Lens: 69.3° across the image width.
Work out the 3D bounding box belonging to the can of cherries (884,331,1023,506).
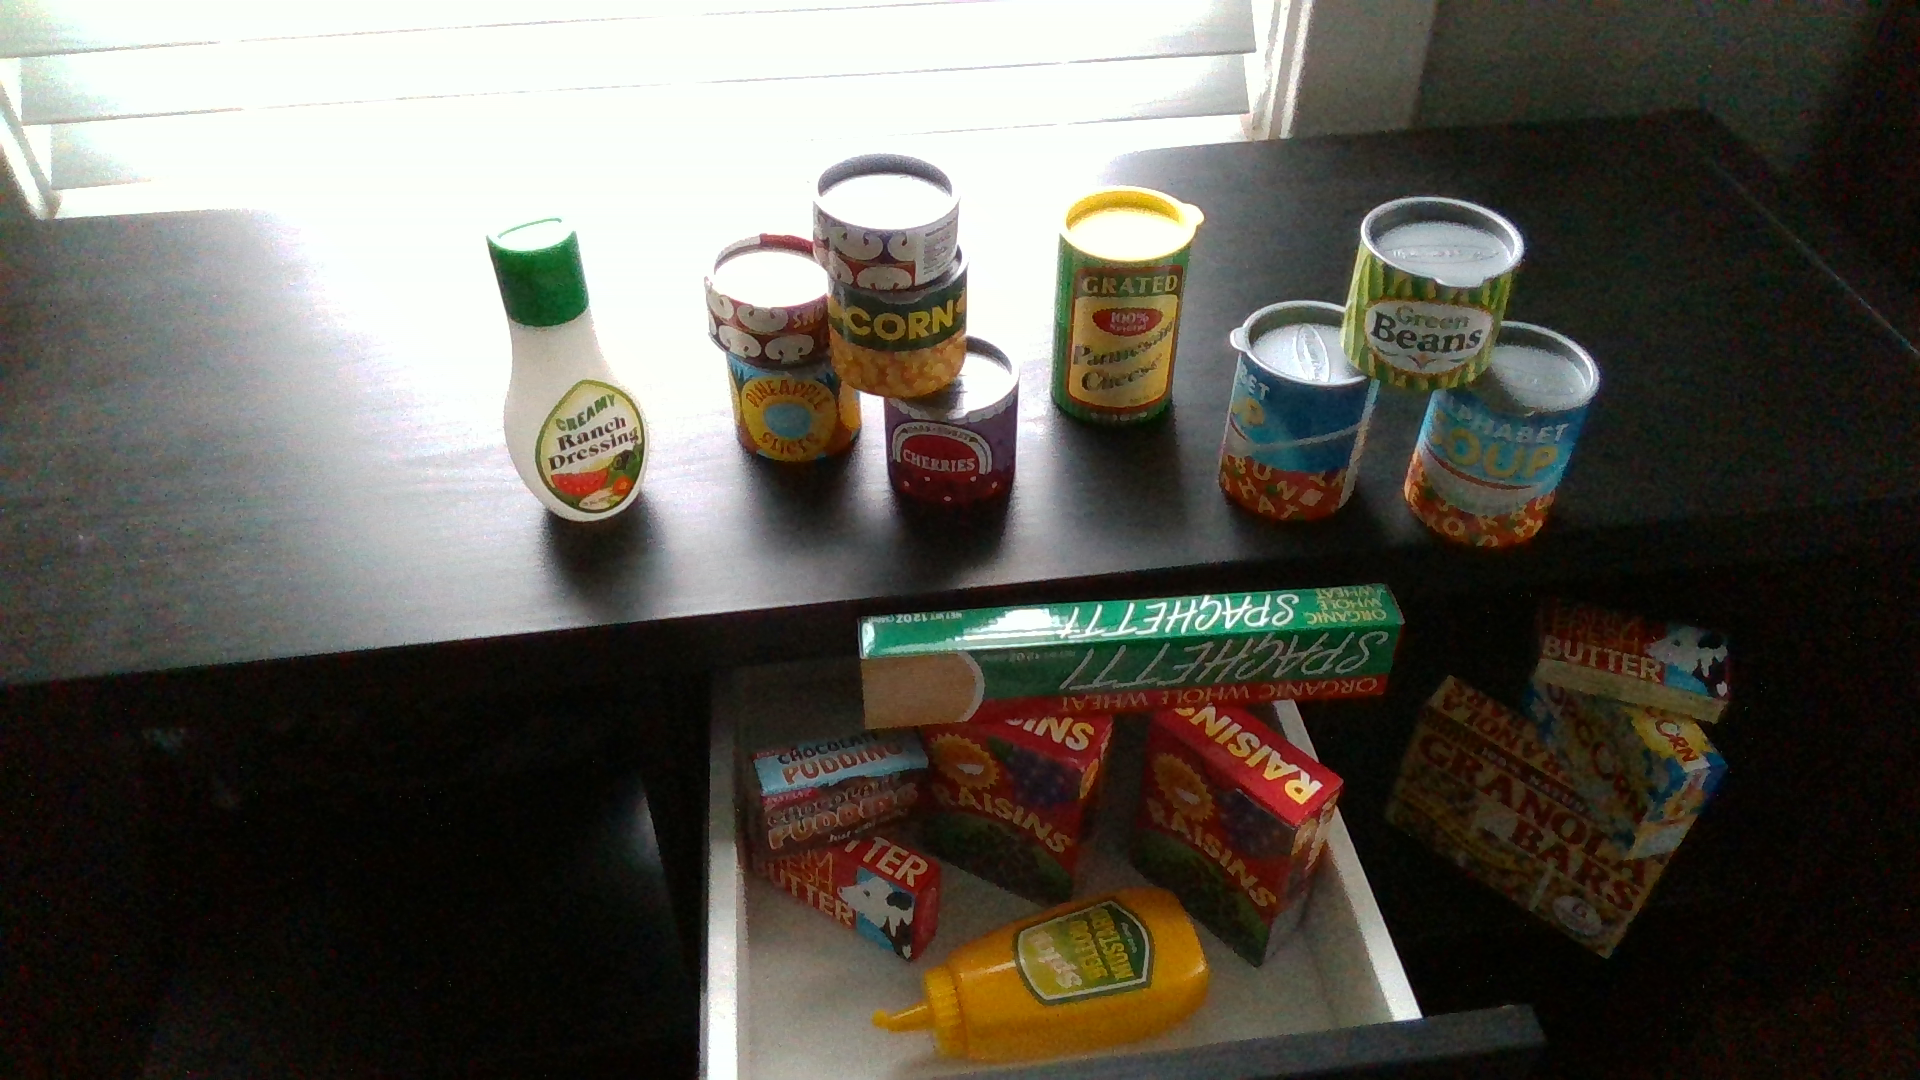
[{"bbox_3d":[-0.004,-0.057,0.663,0.071,0.058,0.072,0,44,0],"label":"can of cherries"}]

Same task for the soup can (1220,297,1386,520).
[{"bbox_3d":[0.156,-0.061,0.651,0.071,0.083,0.072,0,43,0],"label":"soup can"}]

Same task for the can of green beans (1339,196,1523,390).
[{"bbox_3d":[0.201,-0.106,0.600,0.071,0.057,0.071,-1,44,1],"label":"can of green beans"}]

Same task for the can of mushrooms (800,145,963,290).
[{"bbox_3d":[-0.035,-0.141,0.604,0.071,0.071,0.033,0,-43,-2],"label":"can of mushrooms"}]

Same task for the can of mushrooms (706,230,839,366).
[{"bbox_3d":[-0.085,-0.115,0.659,0.071,0.071,0.033,0,-44,-6],"label":"can of mushrooms"}]

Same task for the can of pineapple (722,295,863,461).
[{"bbox_3d":[-0.081,-0.079,0.685,0.071,0.057,0.071,0,44,0],"label":"can of pineapple"}]

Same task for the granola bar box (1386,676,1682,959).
[{"bbox_3d":[0.371,0.181,0.905,0.166,0.123,0.039,32,50,29],"label":"granola bar box"}]

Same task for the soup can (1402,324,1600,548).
[{"bbox_3d":[0.245,-0.046,0.636,0.071,0.083,0.072,1,43,-1],"label":"soup can"}]

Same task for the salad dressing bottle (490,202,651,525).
[{"bbox_3d":[-0.175,-0.075,0.616,0.064,0.146,0.044,-26,48,-26],"label":"salad dressing bottle"}]

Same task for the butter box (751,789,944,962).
[{"bbox_3d":[-0.058,0.162,0.686,0.103,0.052,0.024,23,39,23],"label":"butter box"}]

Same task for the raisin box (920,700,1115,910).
[{"bbox_3d":[0.026,0.121,0.680,0.086,0.122,0.040,20,47,19],"label":"raisin box"}]

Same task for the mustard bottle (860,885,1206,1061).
[{"bbox_3d":[0.032,0.209,0.647,0.160,0.048,0.065,-12,48,-15],"label":"mustard bottle"}]

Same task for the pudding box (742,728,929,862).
[{"bbox_3d":[-0.059,0.118,0.660,0.084,0.049,0.030,-8,38,-21],"label":"pudding box"}]

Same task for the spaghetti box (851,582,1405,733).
[{"bbox_3d":[0.076,0.053,0.632,0.250,0.049,0.029,-3,39,-6],"label":"spaghetti box"}]

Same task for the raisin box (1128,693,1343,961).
[{"bbox_3d":[0.128,0.136,0.669,0.040,0.122,0.086,-35,55,-29],"label":"raisin box"}]

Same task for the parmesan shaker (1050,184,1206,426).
[{"bbox_3d":[0.082,-0.115,0.692,0.071,0.102,0.072,0,45,1],"label":"parmesan shaker"}]

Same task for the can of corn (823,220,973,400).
[{"bbox_3d":[-0.028,-0.104,0.632,0.071,0.058,0.071,1,43,-1],"label":"can of corn"}]

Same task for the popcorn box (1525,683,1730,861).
[{"bbox_3d":[0.393,0.114,0.829,0.038,0.084,0.127,-7,43,-8],"label":"popcorn box"}]

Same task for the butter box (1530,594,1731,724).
[{"bbox_3d":[0.386,0.068,0.802,0.103,0.024,0.053,13,47,16],"label":"butter box"}]
